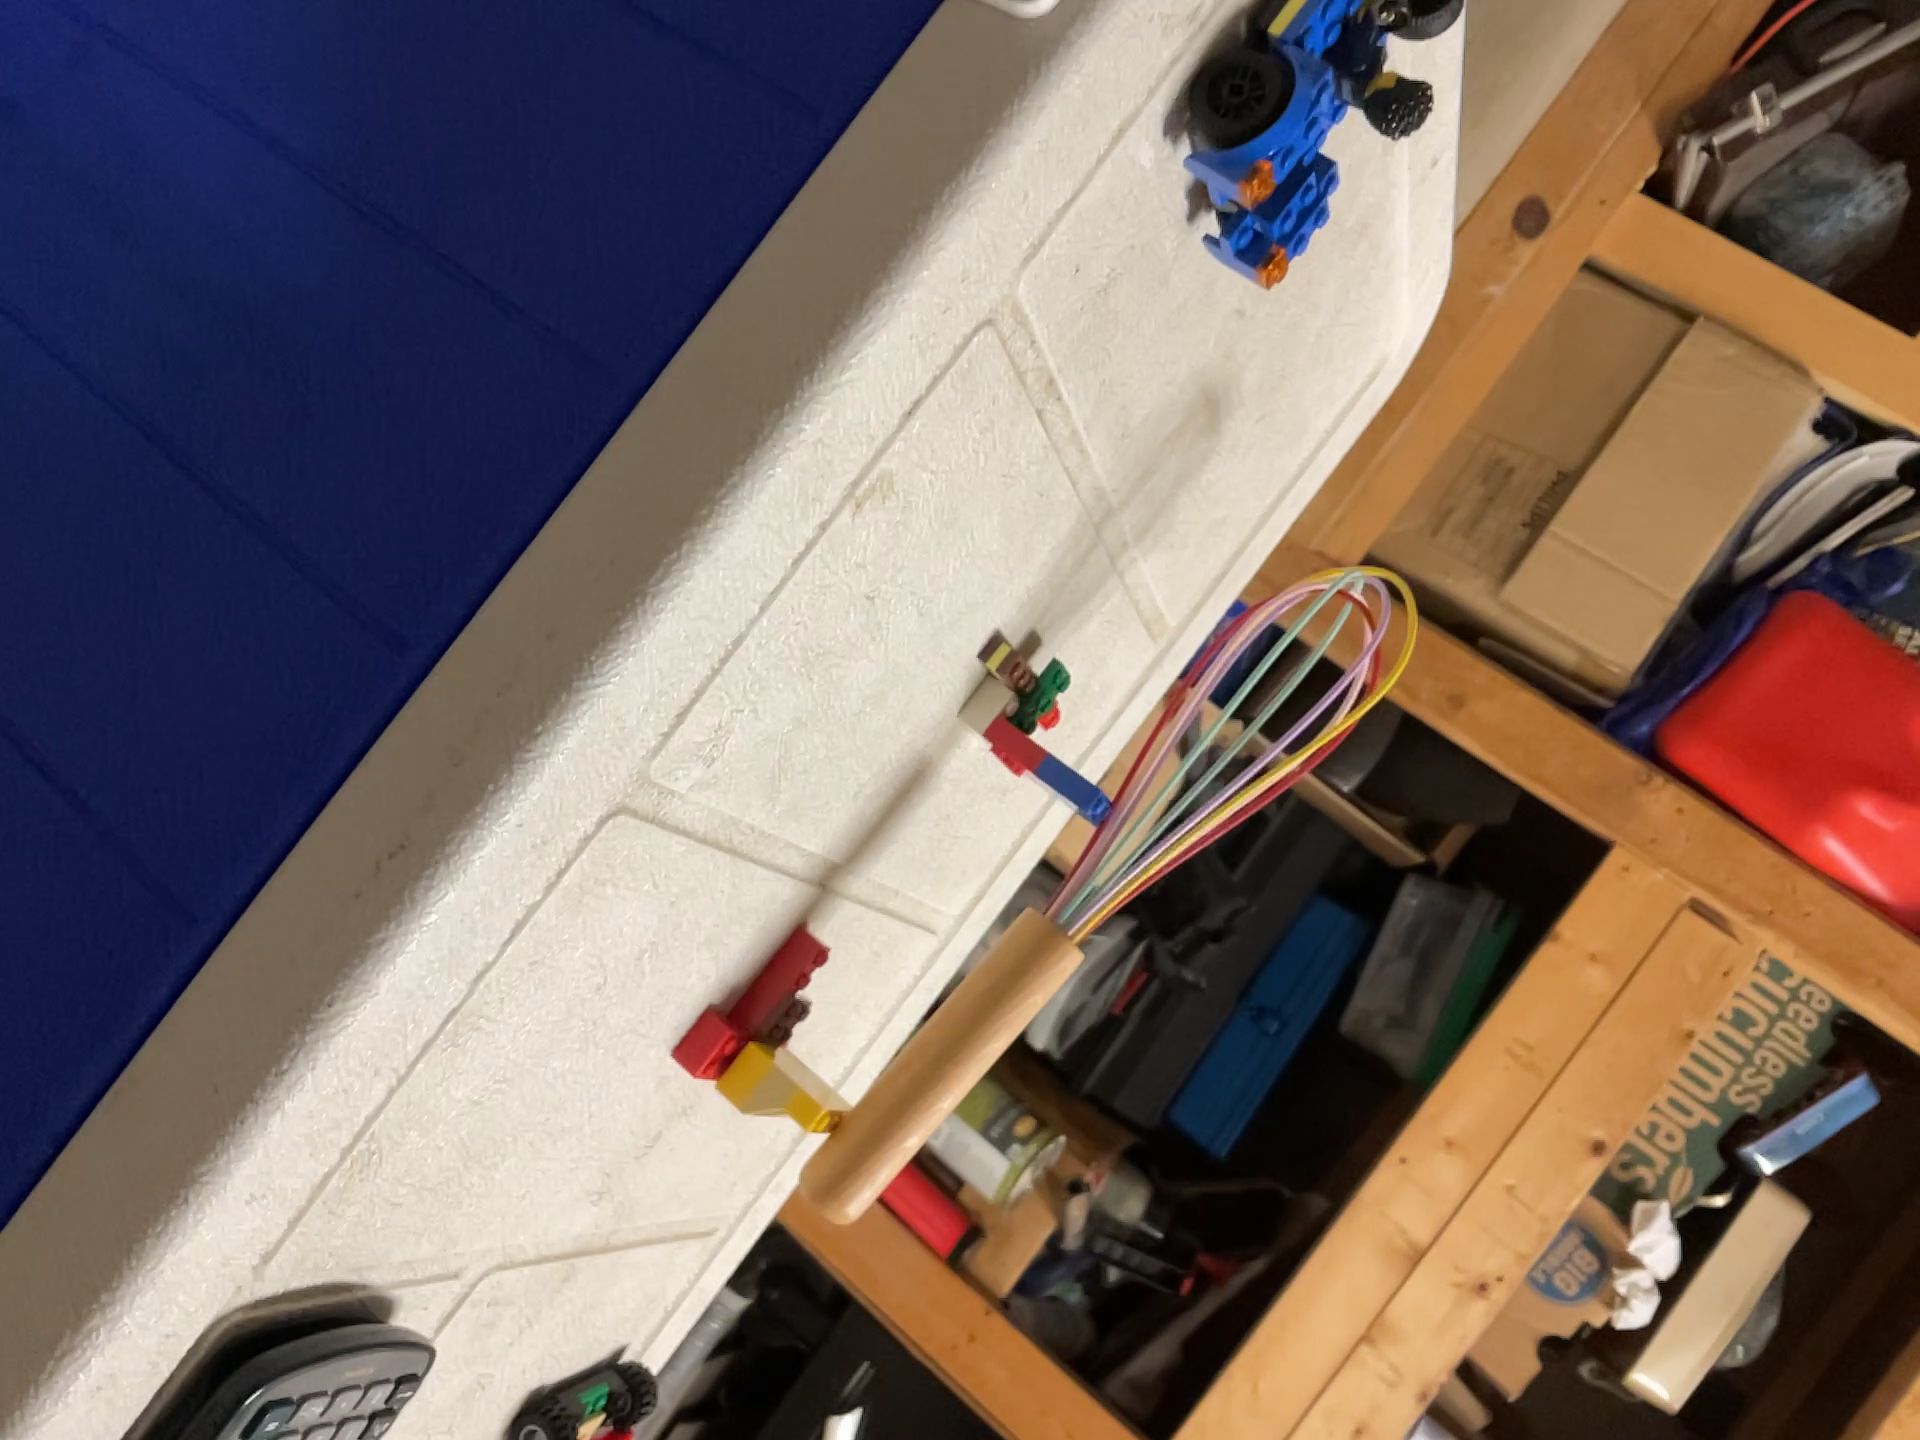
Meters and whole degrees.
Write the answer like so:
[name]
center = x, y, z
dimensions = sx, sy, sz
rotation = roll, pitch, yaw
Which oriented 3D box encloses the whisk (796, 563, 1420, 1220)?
[whisk]
center = 0.044, 0.044, 0.451
dimensions = 0.245, 0.047, 0.051
rotation = -47, 172, -8
